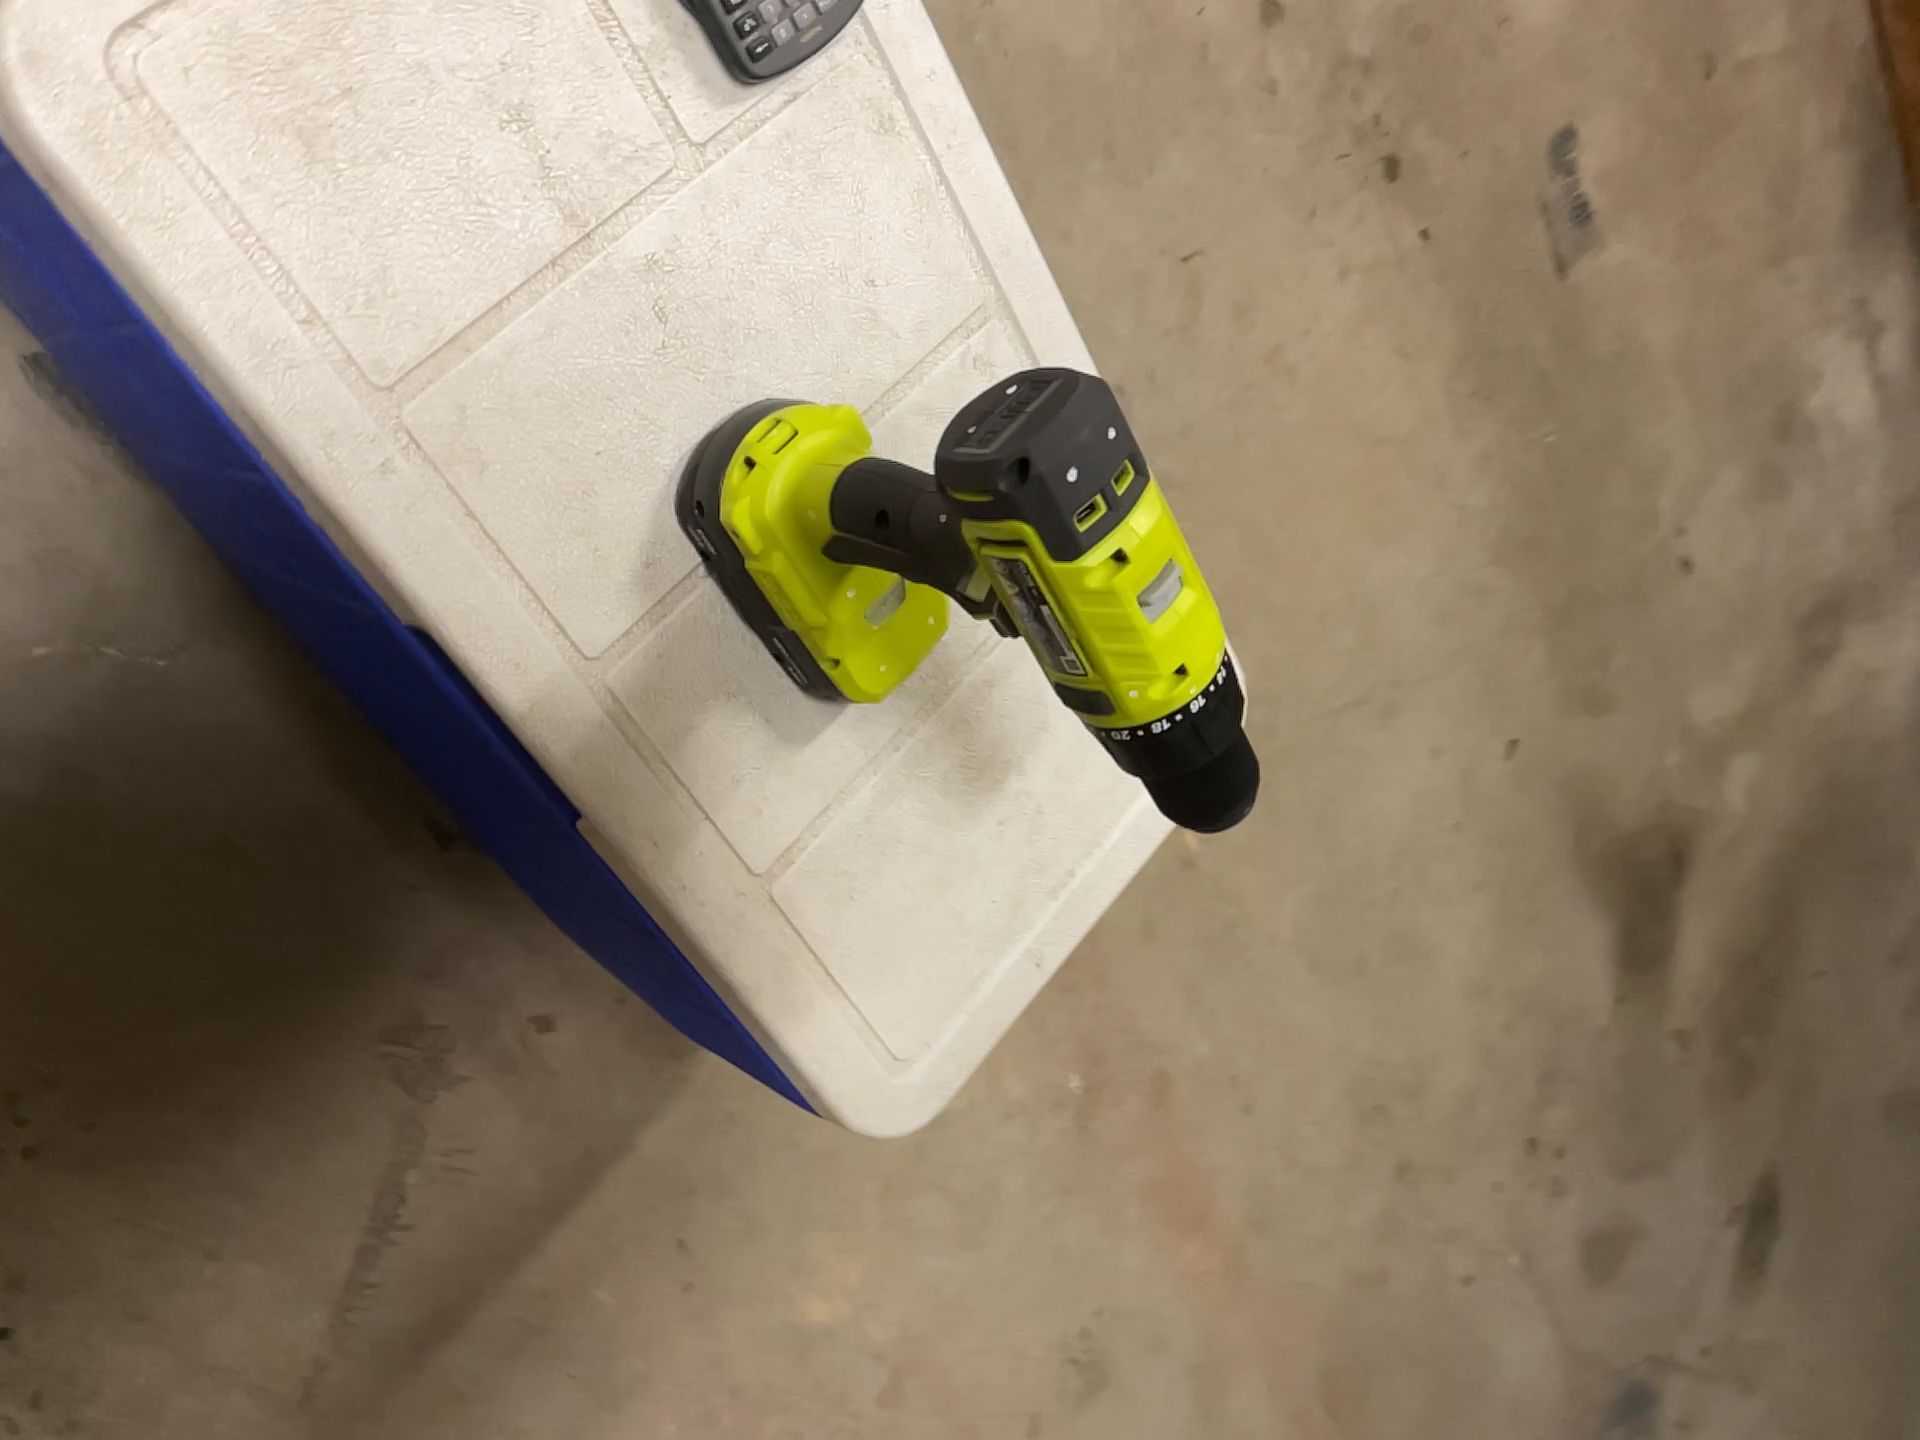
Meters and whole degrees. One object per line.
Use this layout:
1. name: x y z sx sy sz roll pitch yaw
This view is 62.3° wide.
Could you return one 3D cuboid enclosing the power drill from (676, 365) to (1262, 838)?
1. power drill: 0.007 -0.045 0.615 0.080 0.228 0.190 -48 127 -22
